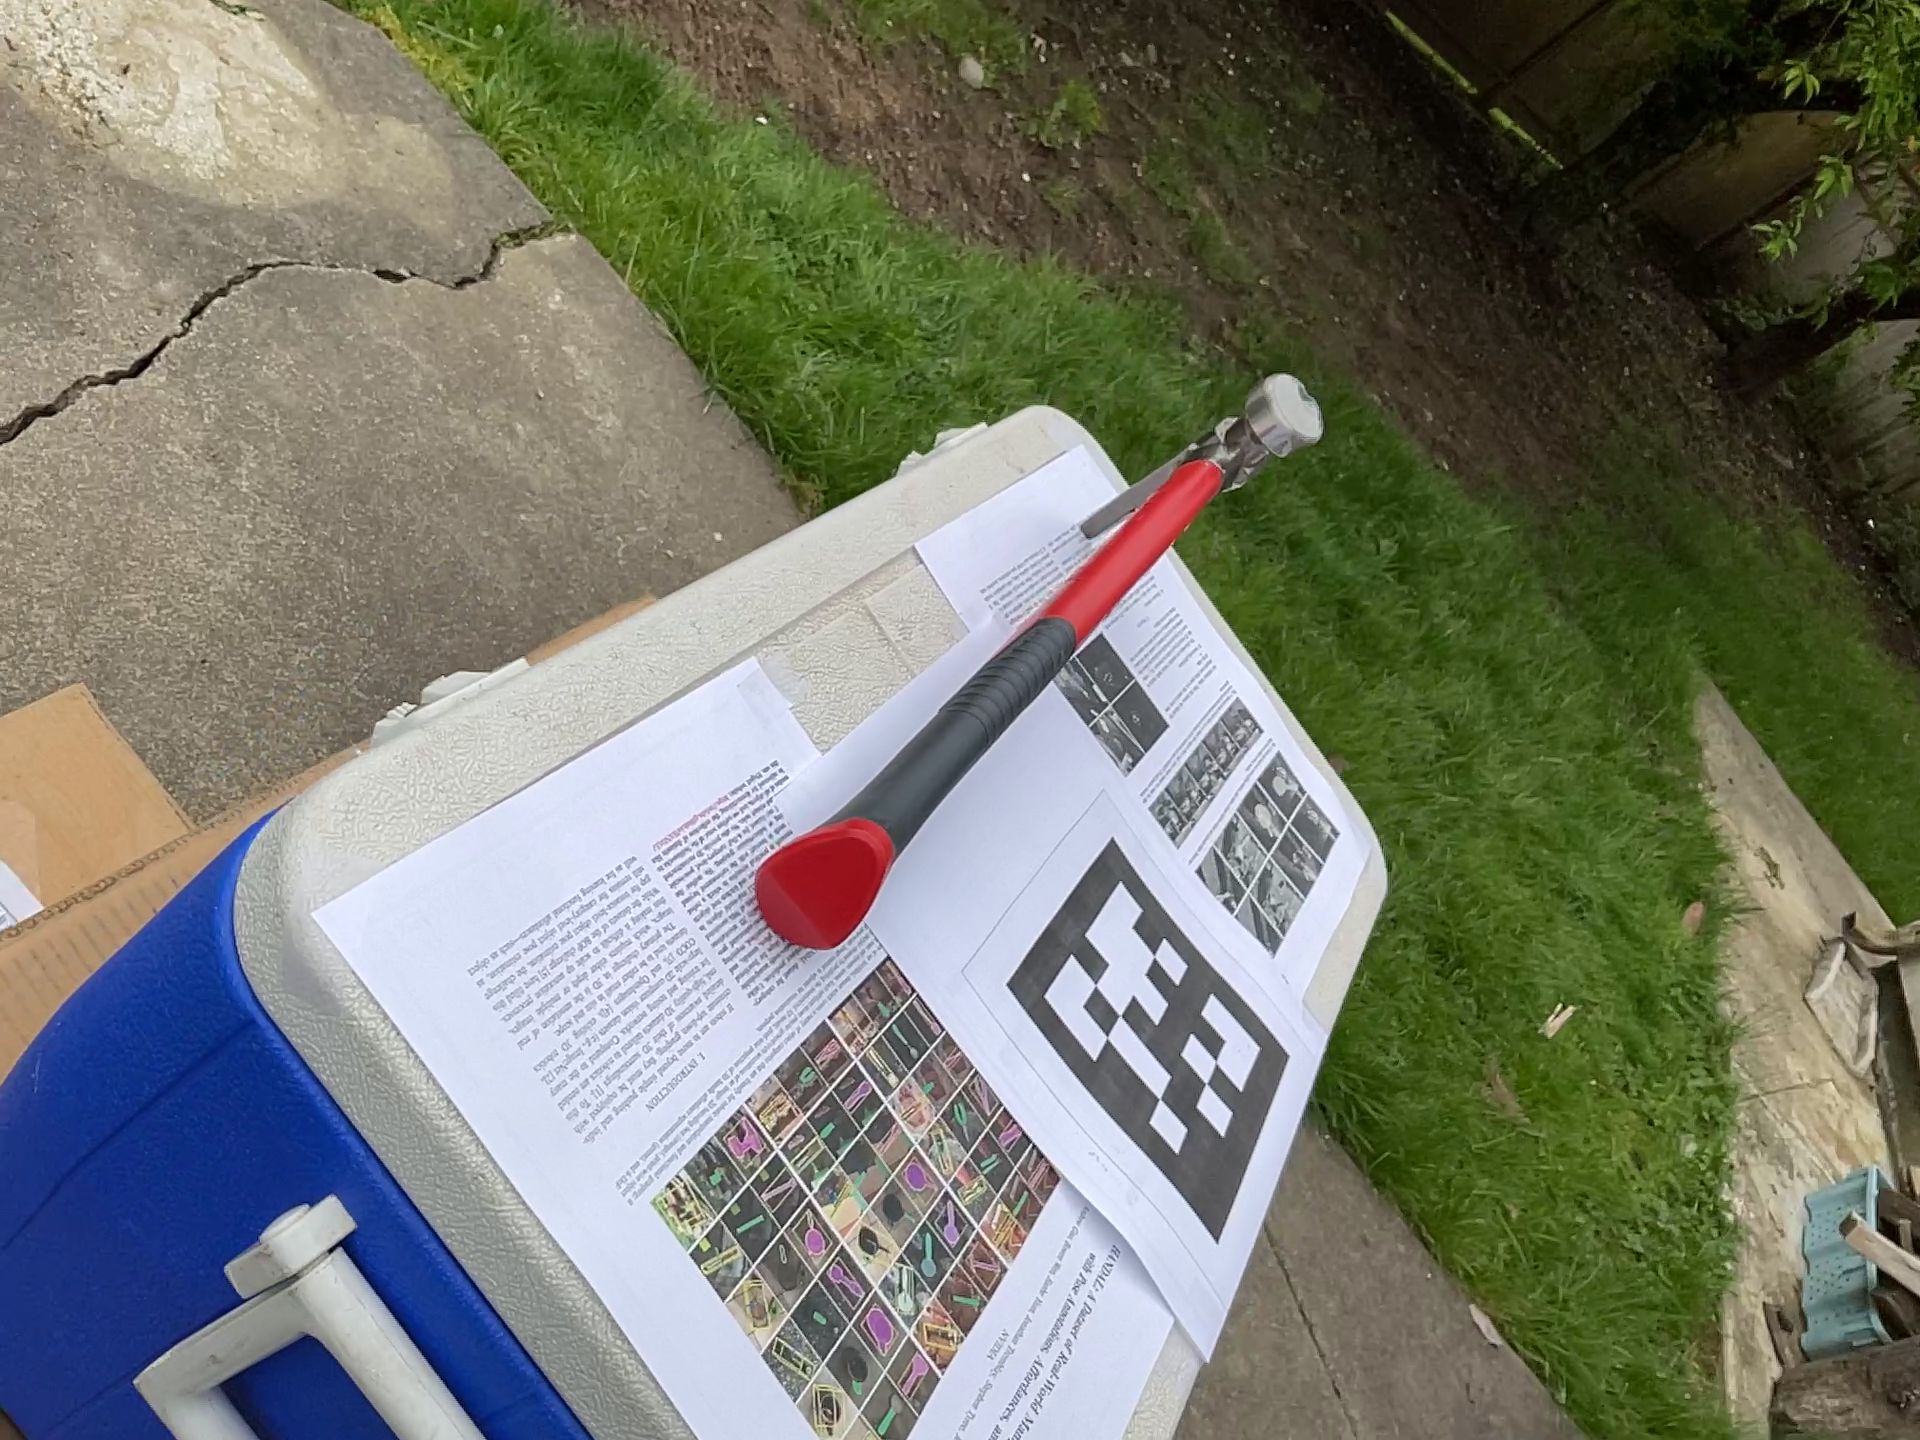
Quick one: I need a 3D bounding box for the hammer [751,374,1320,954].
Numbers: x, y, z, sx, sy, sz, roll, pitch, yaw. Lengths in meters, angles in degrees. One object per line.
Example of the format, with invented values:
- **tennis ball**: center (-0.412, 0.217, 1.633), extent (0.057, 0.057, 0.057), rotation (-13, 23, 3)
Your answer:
- **hammer**: center (0.028, -0.029, 0.661), extent (0.038, 0.143, 0.386), rotation (50, 44, -7)
